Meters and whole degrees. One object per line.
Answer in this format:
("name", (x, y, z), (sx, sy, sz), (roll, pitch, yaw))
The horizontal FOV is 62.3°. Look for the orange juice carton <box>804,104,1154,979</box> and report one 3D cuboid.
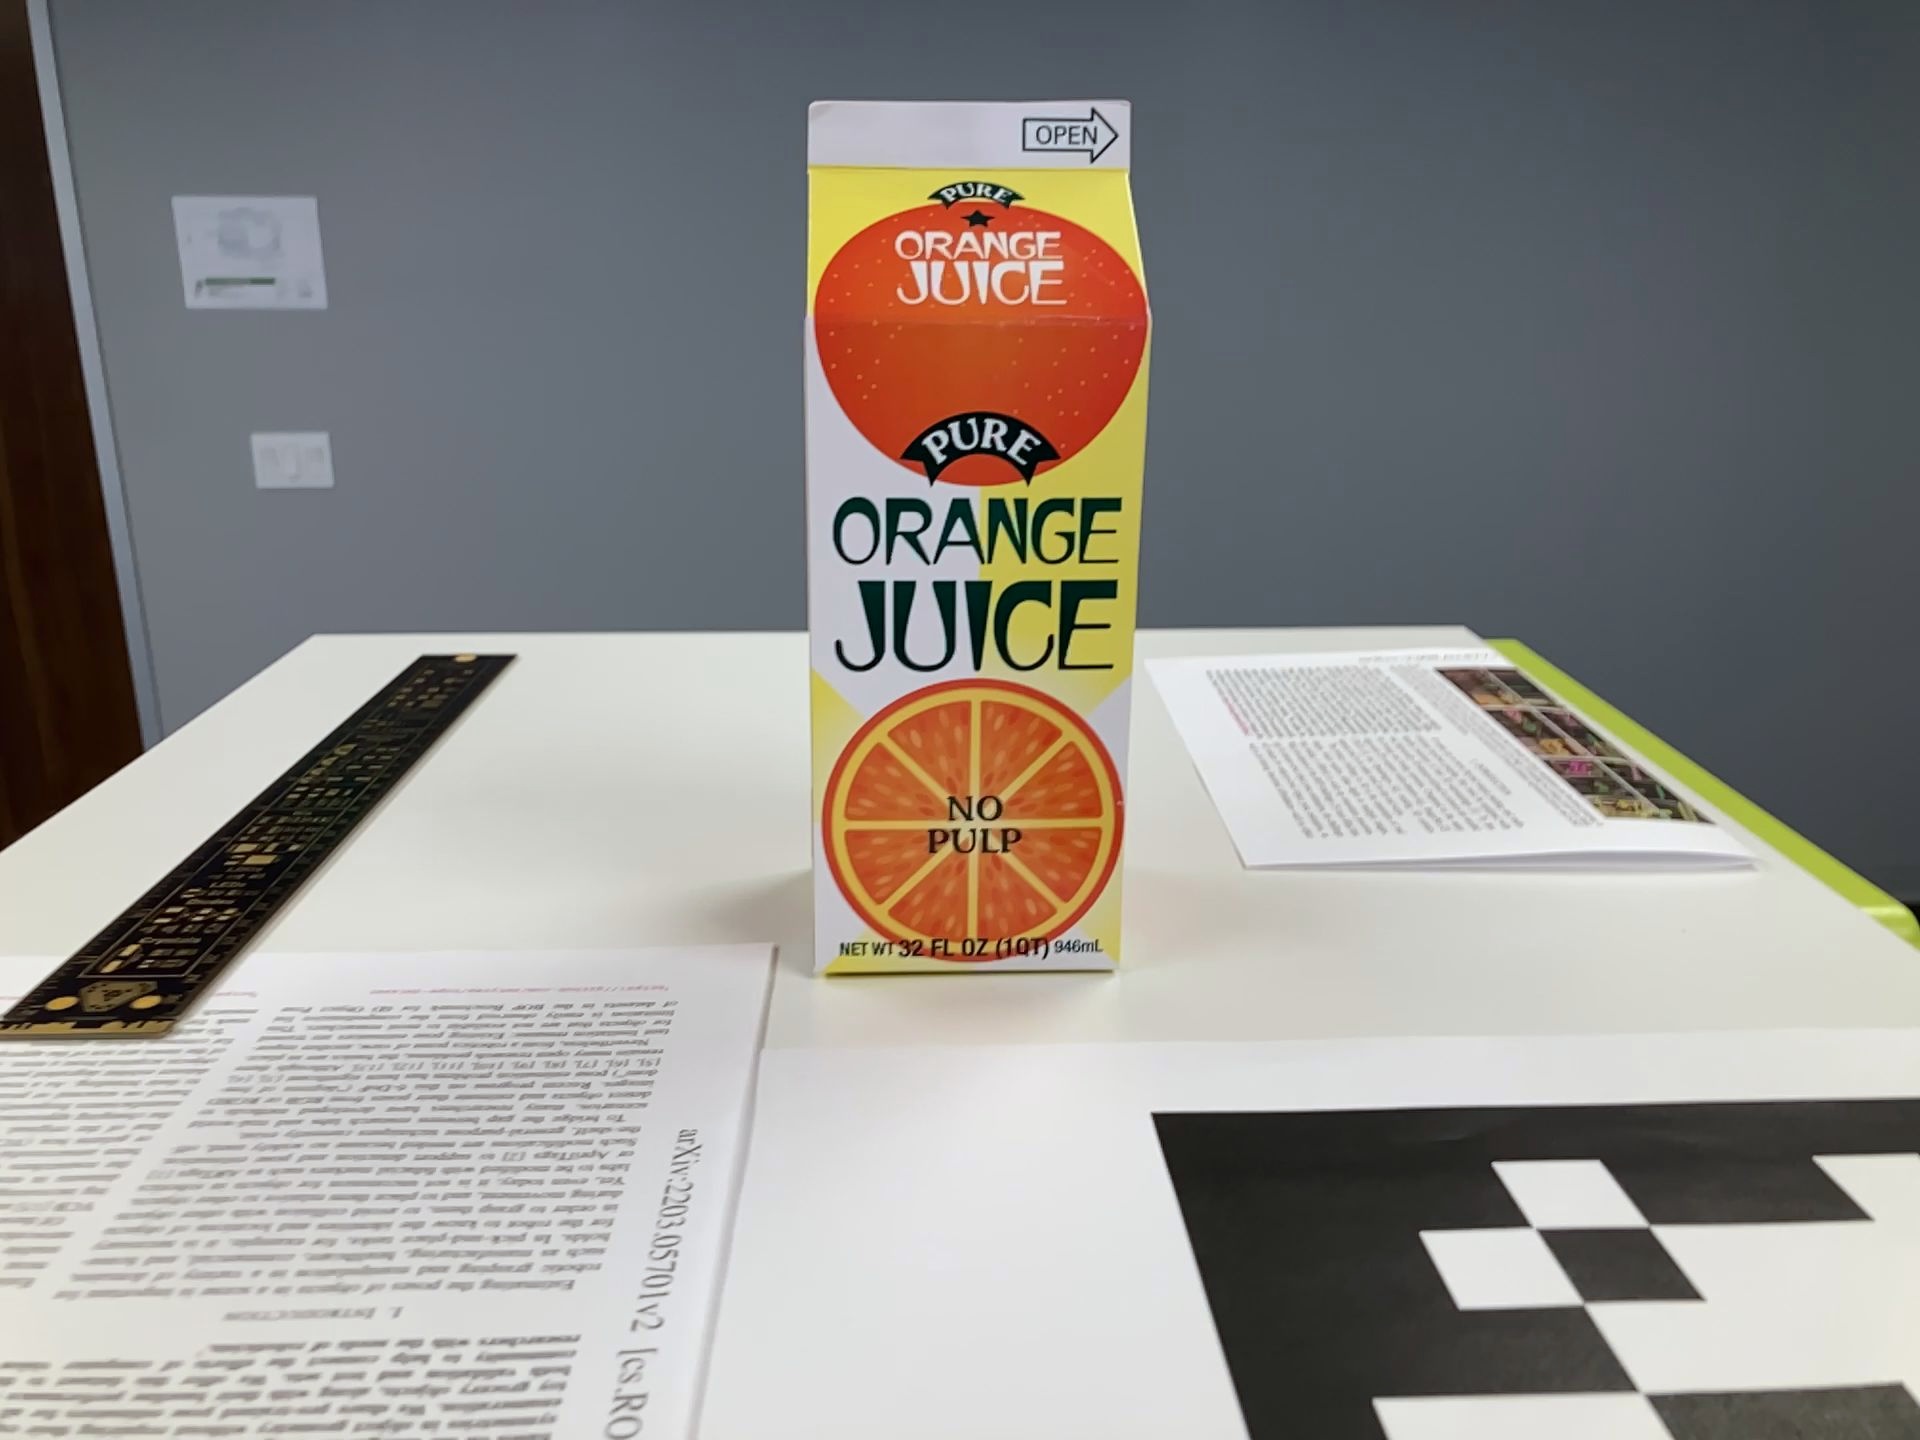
("orange juice carton", (0.001, -0.041, 0.369), (0.072, 0.192, 0.073), (0, 18, -4))
